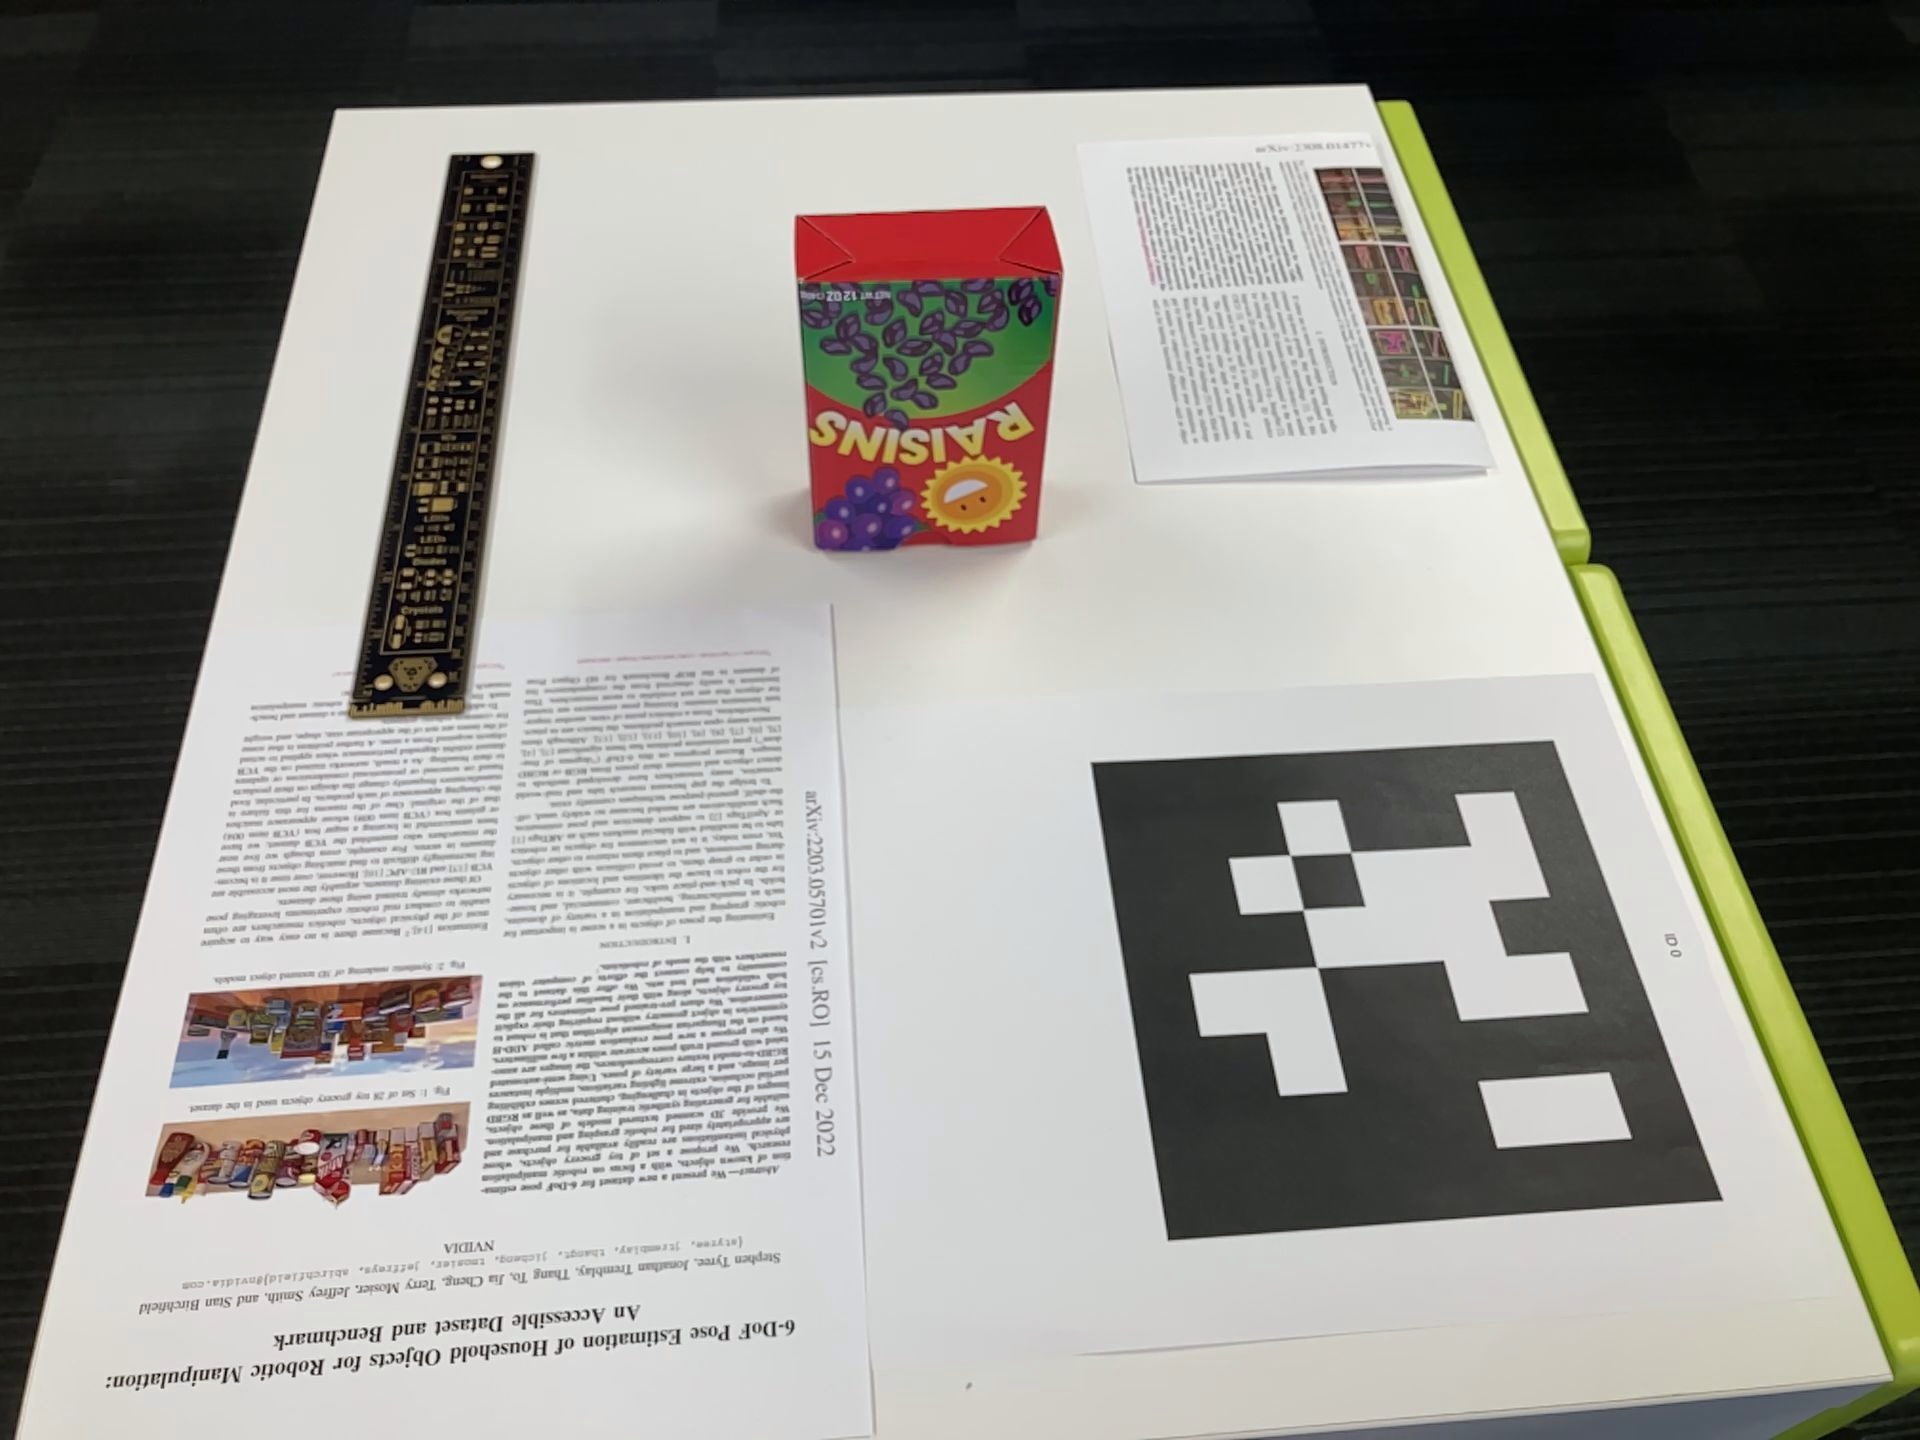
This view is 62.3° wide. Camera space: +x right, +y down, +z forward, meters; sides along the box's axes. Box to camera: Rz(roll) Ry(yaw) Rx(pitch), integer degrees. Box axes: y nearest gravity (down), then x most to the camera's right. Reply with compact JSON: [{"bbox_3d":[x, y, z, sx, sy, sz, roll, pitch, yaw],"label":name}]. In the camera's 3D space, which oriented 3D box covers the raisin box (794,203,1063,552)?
[{"bbox_3d":[-0.012,-0.115,0.555,0.086,0.123,0.040,-4,53,-5],"label":"raisin box"}]
